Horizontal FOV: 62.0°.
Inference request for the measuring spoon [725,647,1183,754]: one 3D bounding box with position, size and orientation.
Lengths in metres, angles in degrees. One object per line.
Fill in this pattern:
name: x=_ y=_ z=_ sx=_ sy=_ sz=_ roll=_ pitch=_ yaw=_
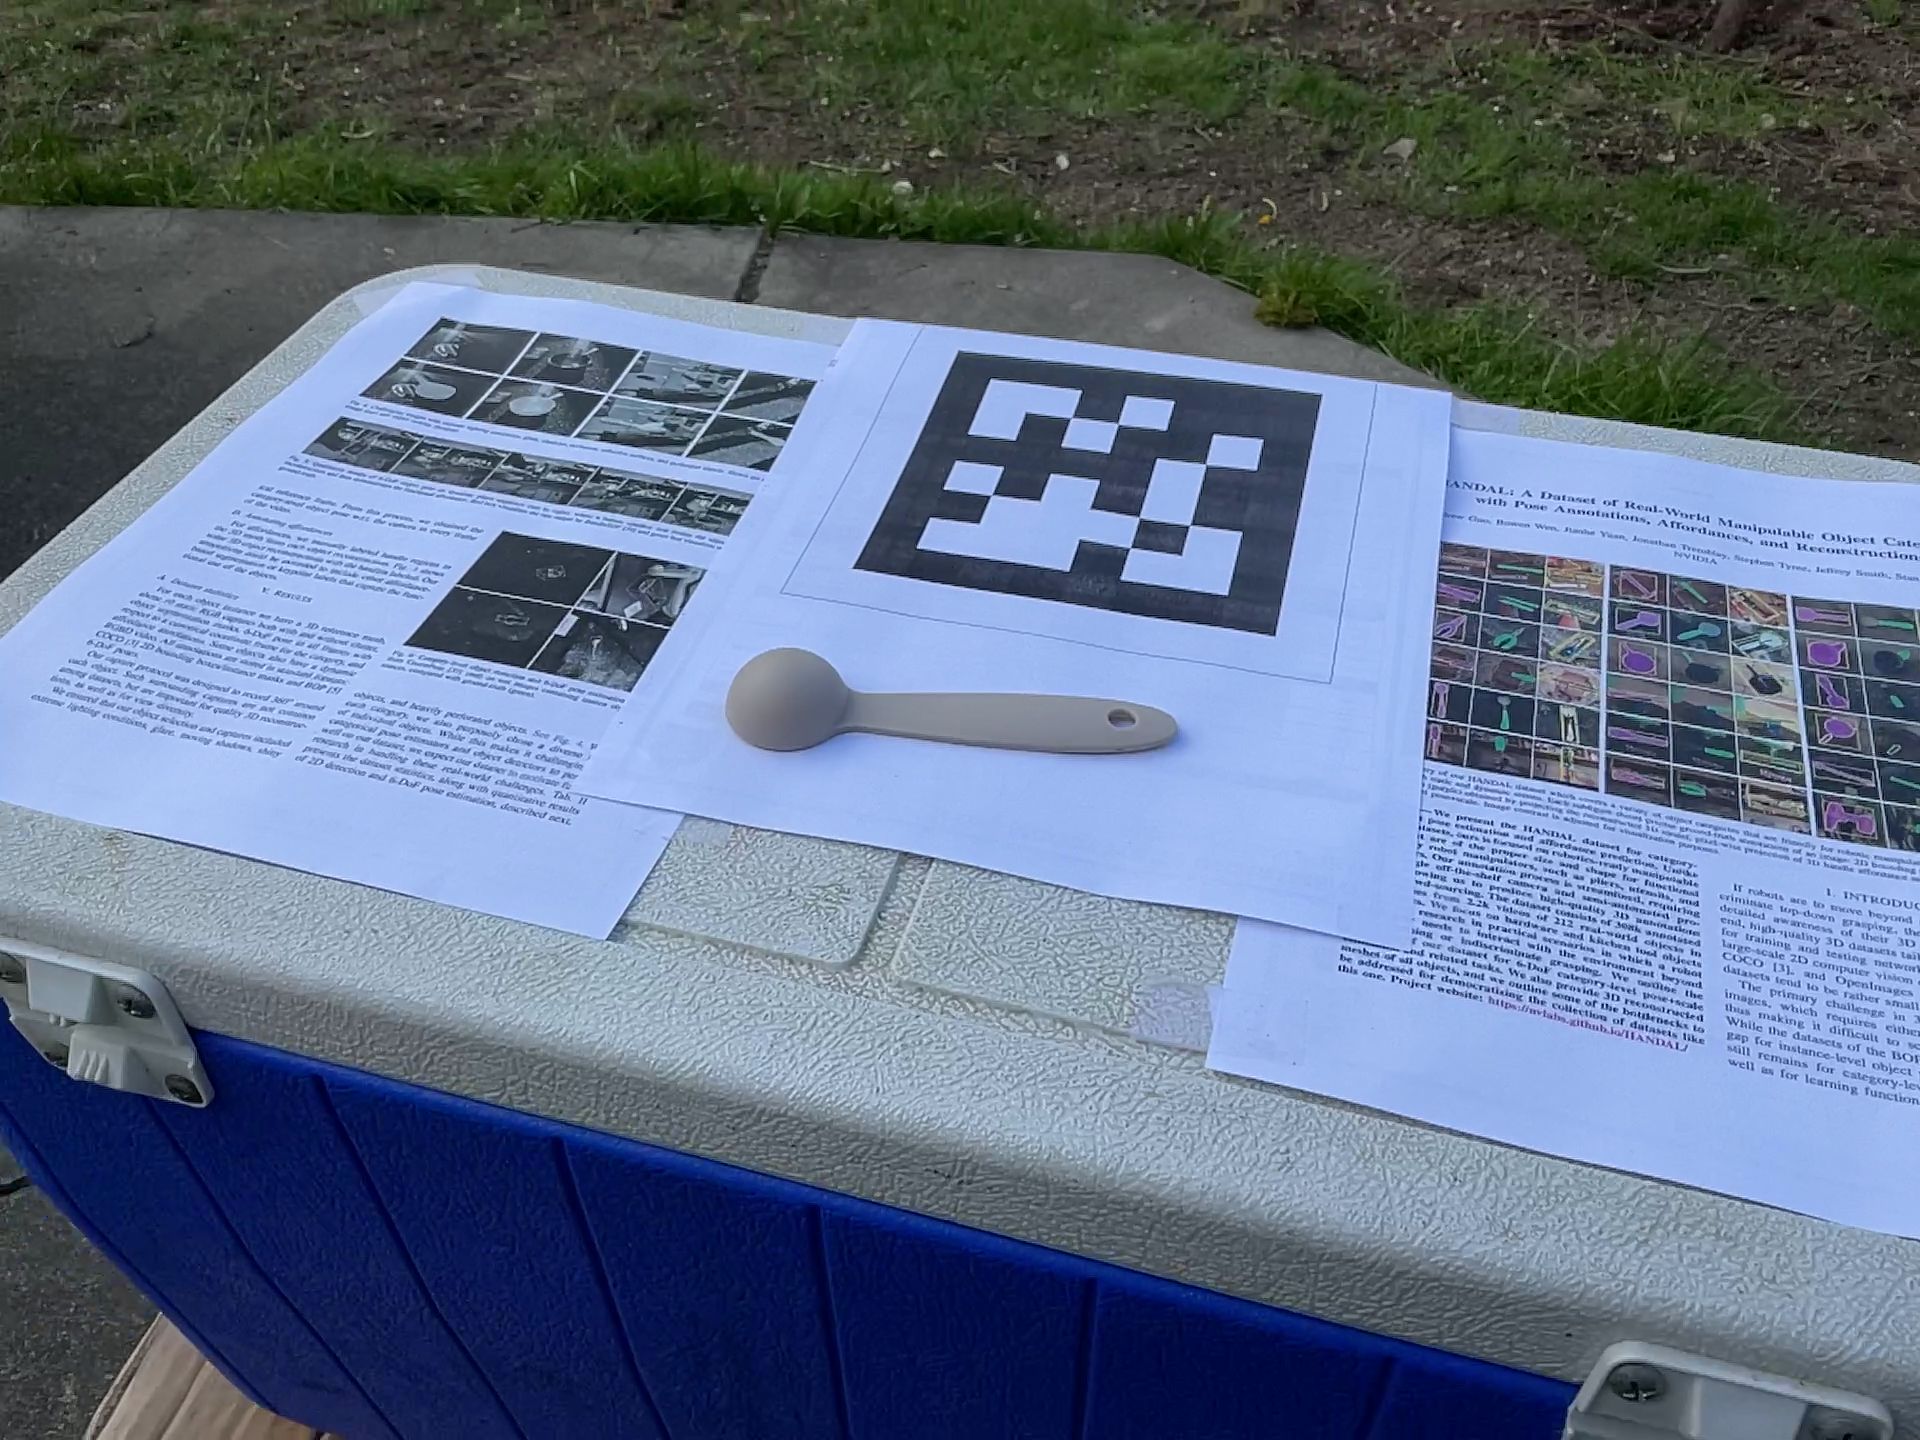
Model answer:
measuring spoon: x=-0.002 y=-0.006 z=0.428 sx=0.124 sy=0.018 sz=0.034 roll=4 pitch=42 yaw=5
